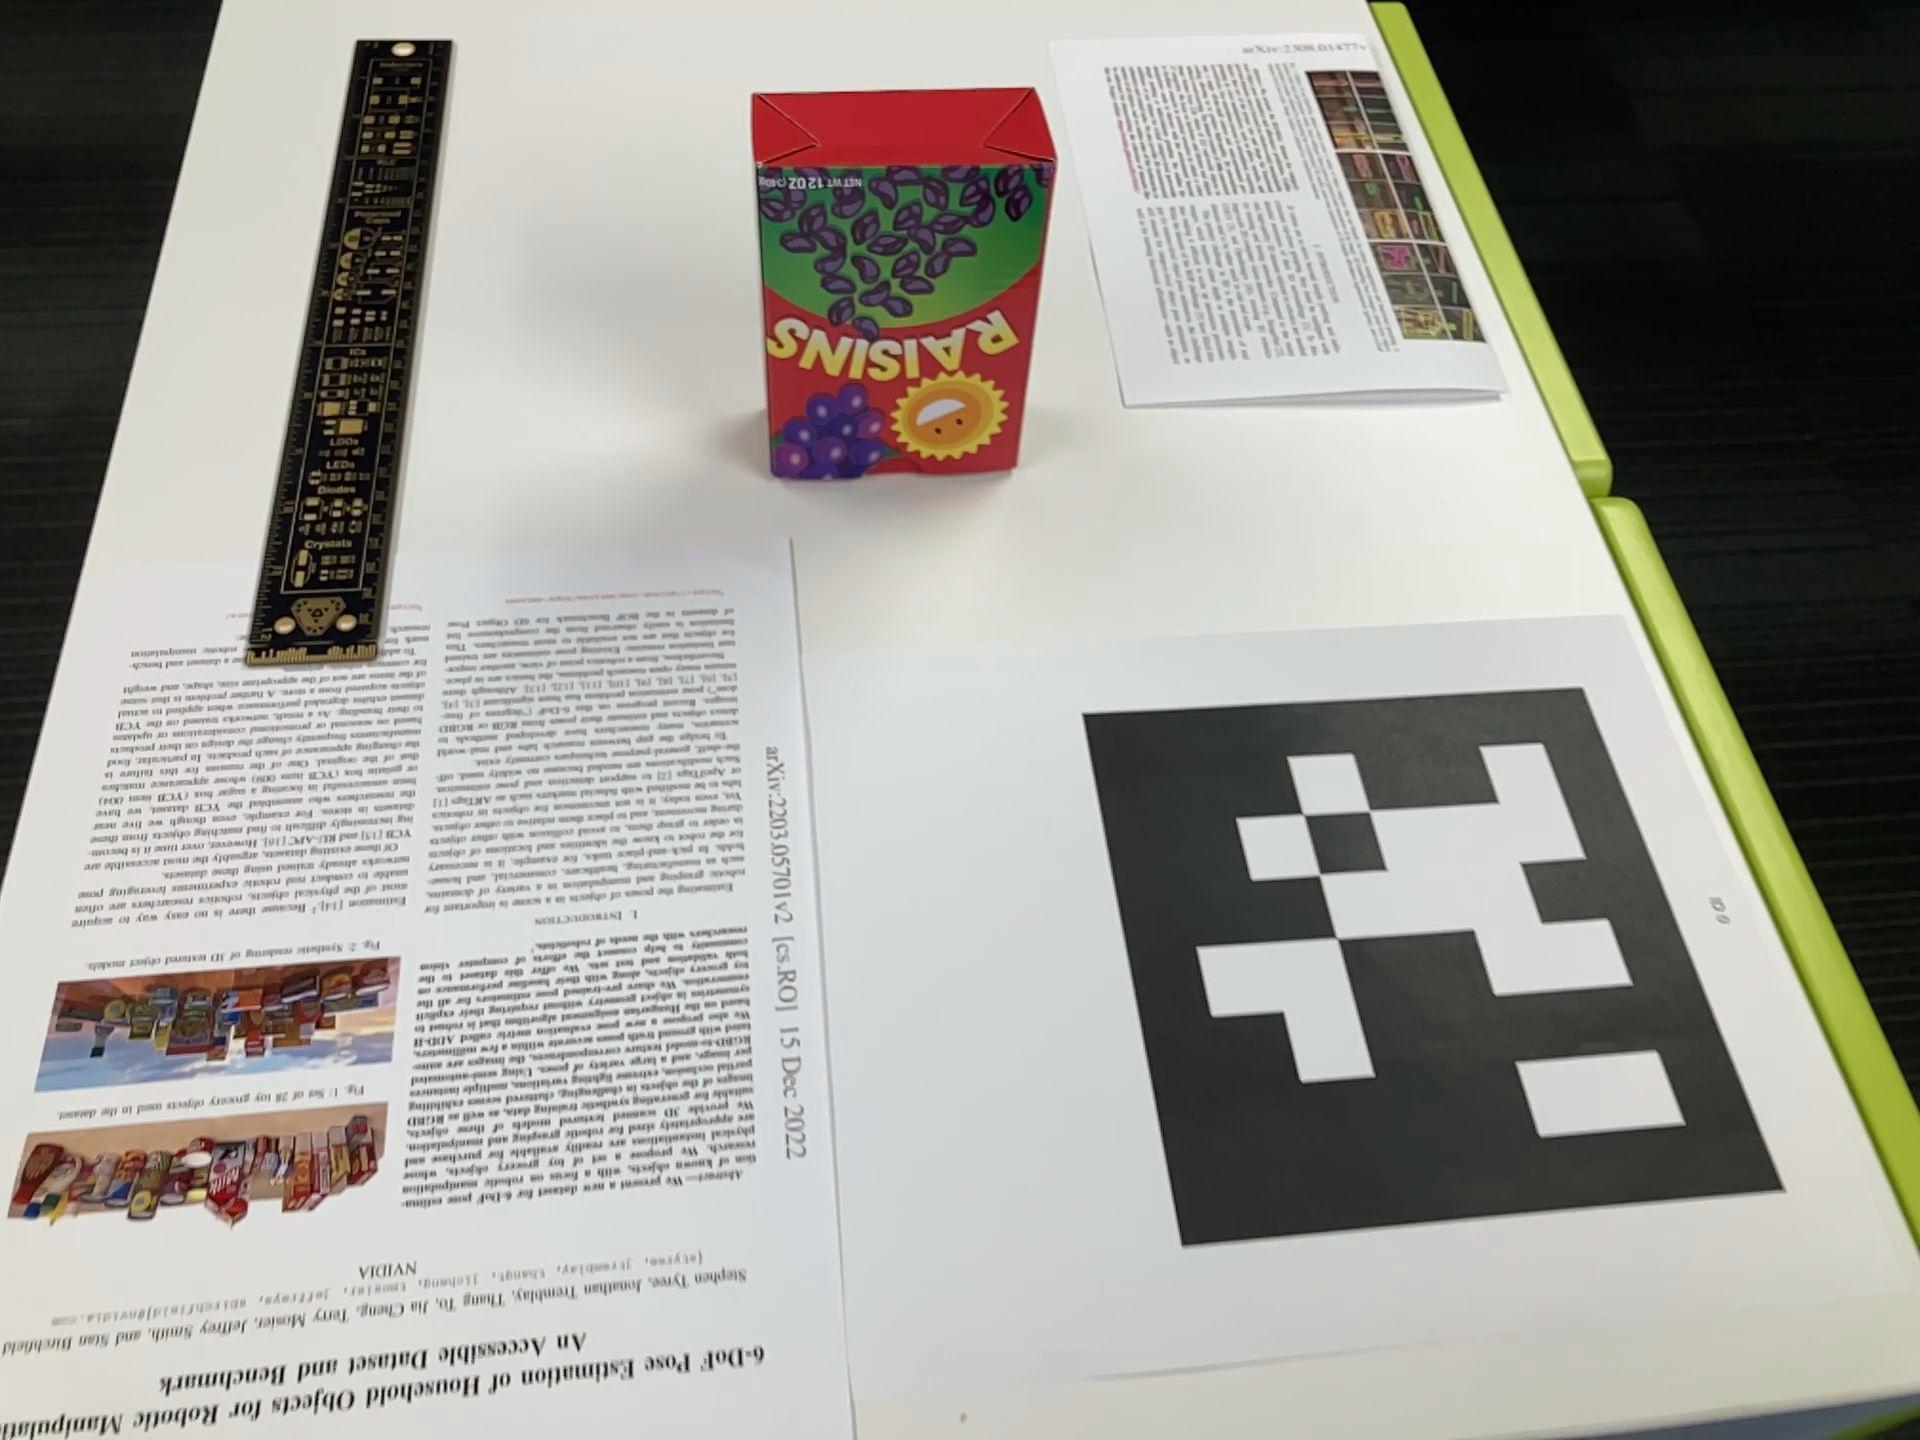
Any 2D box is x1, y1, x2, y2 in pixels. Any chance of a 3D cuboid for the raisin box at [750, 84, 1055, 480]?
[{"bbox_3d":[-0.020,-0.132,0.496,0.086,0.123,0.040,-4,55,-7],"label":"raisin box"}]
